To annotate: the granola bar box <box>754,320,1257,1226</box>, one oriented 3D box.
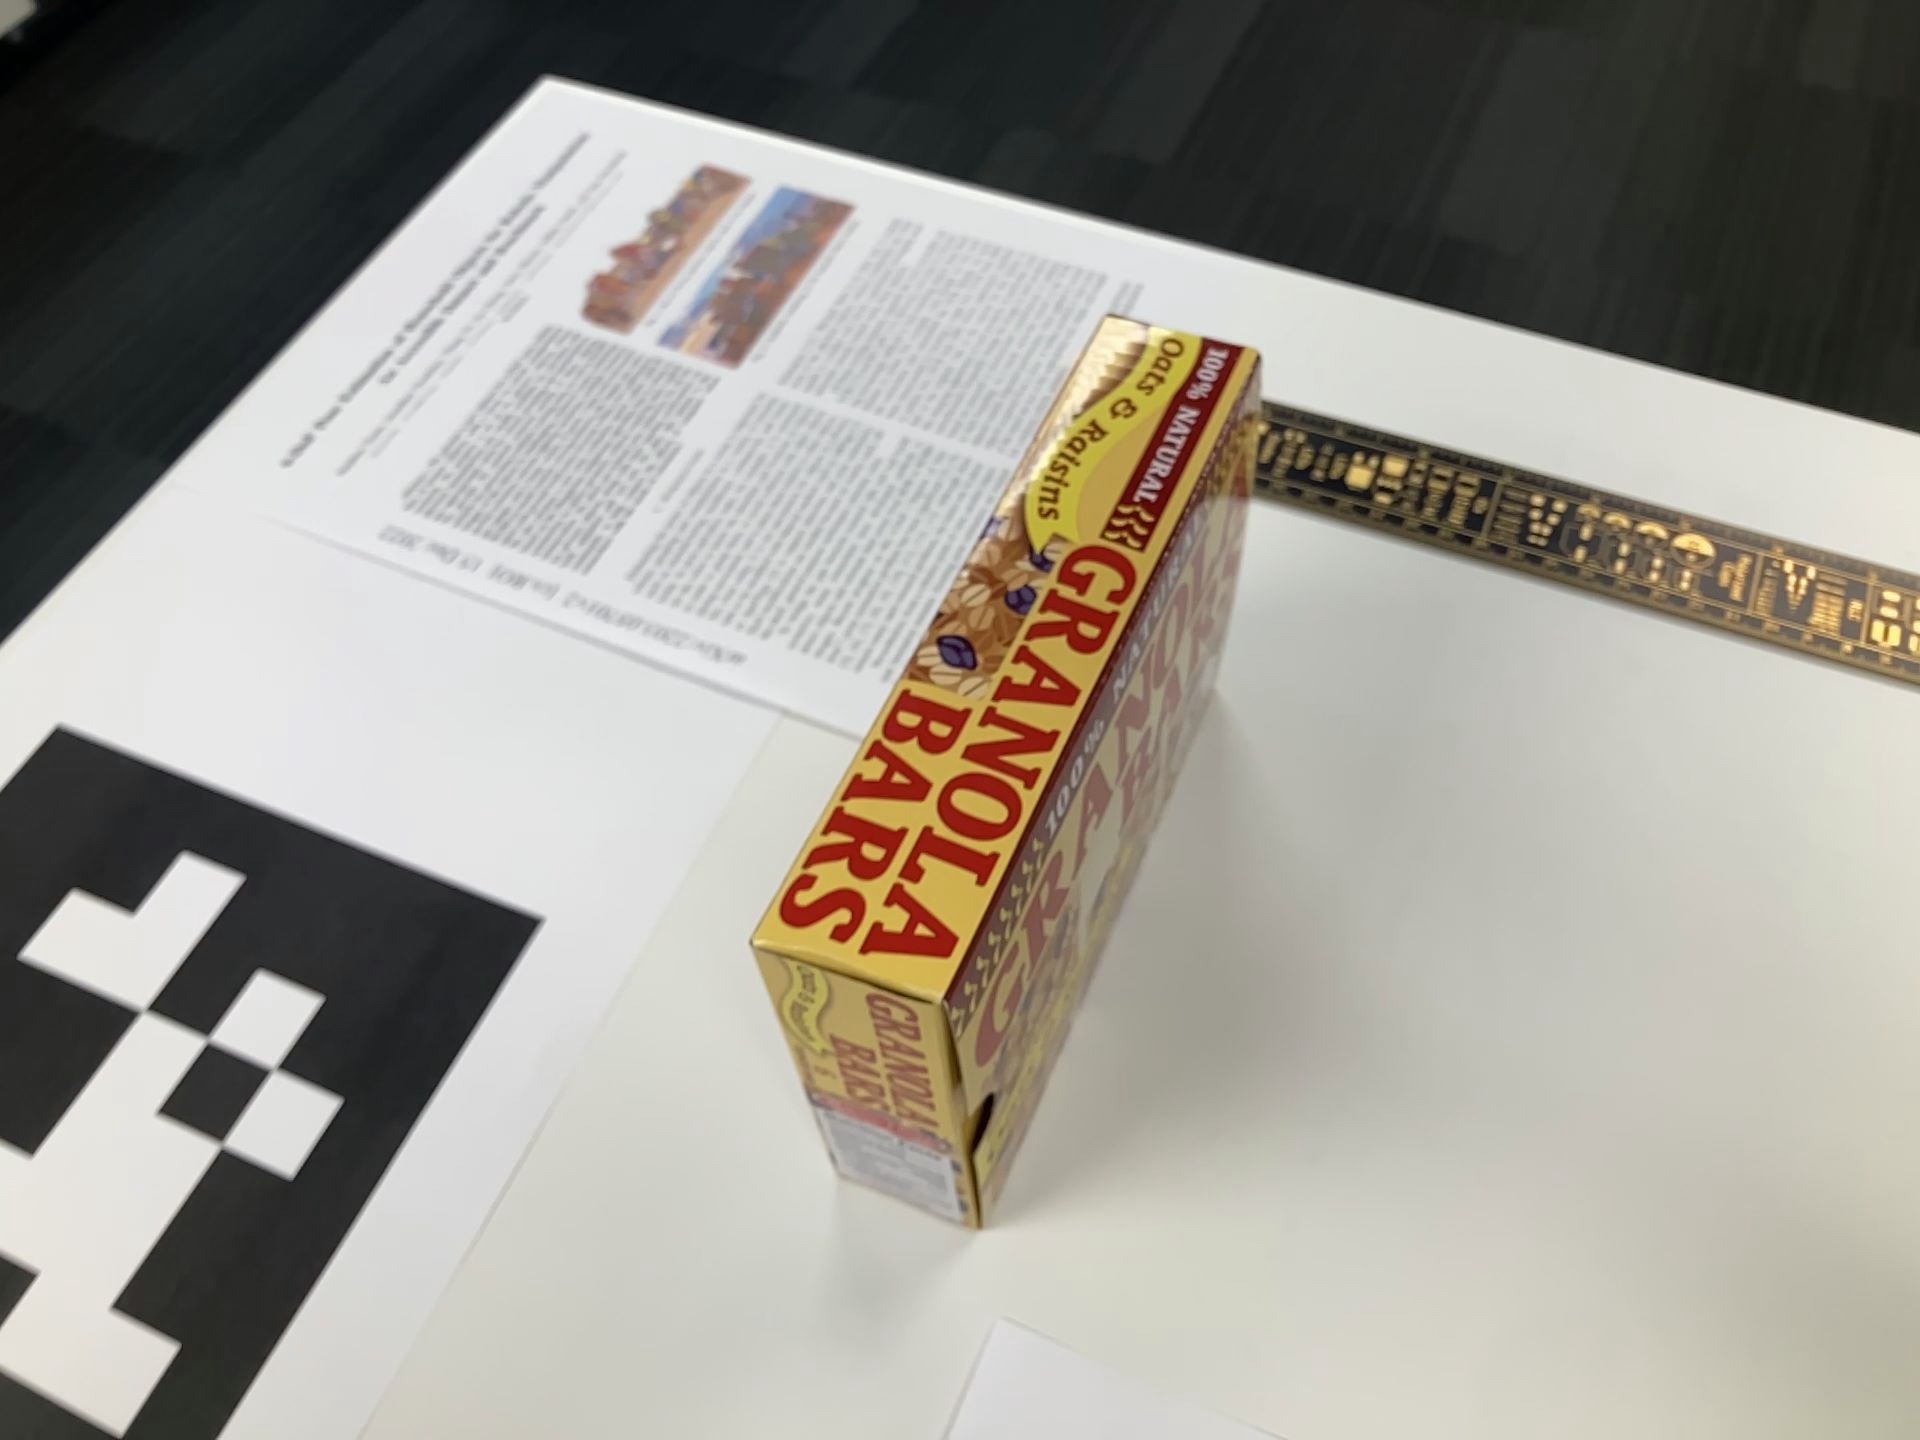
[{"bbox_3d":[0.019,0.013,0.357,0.039,0.124,0.165,18,59,16],"label":"granola bar box"}]
